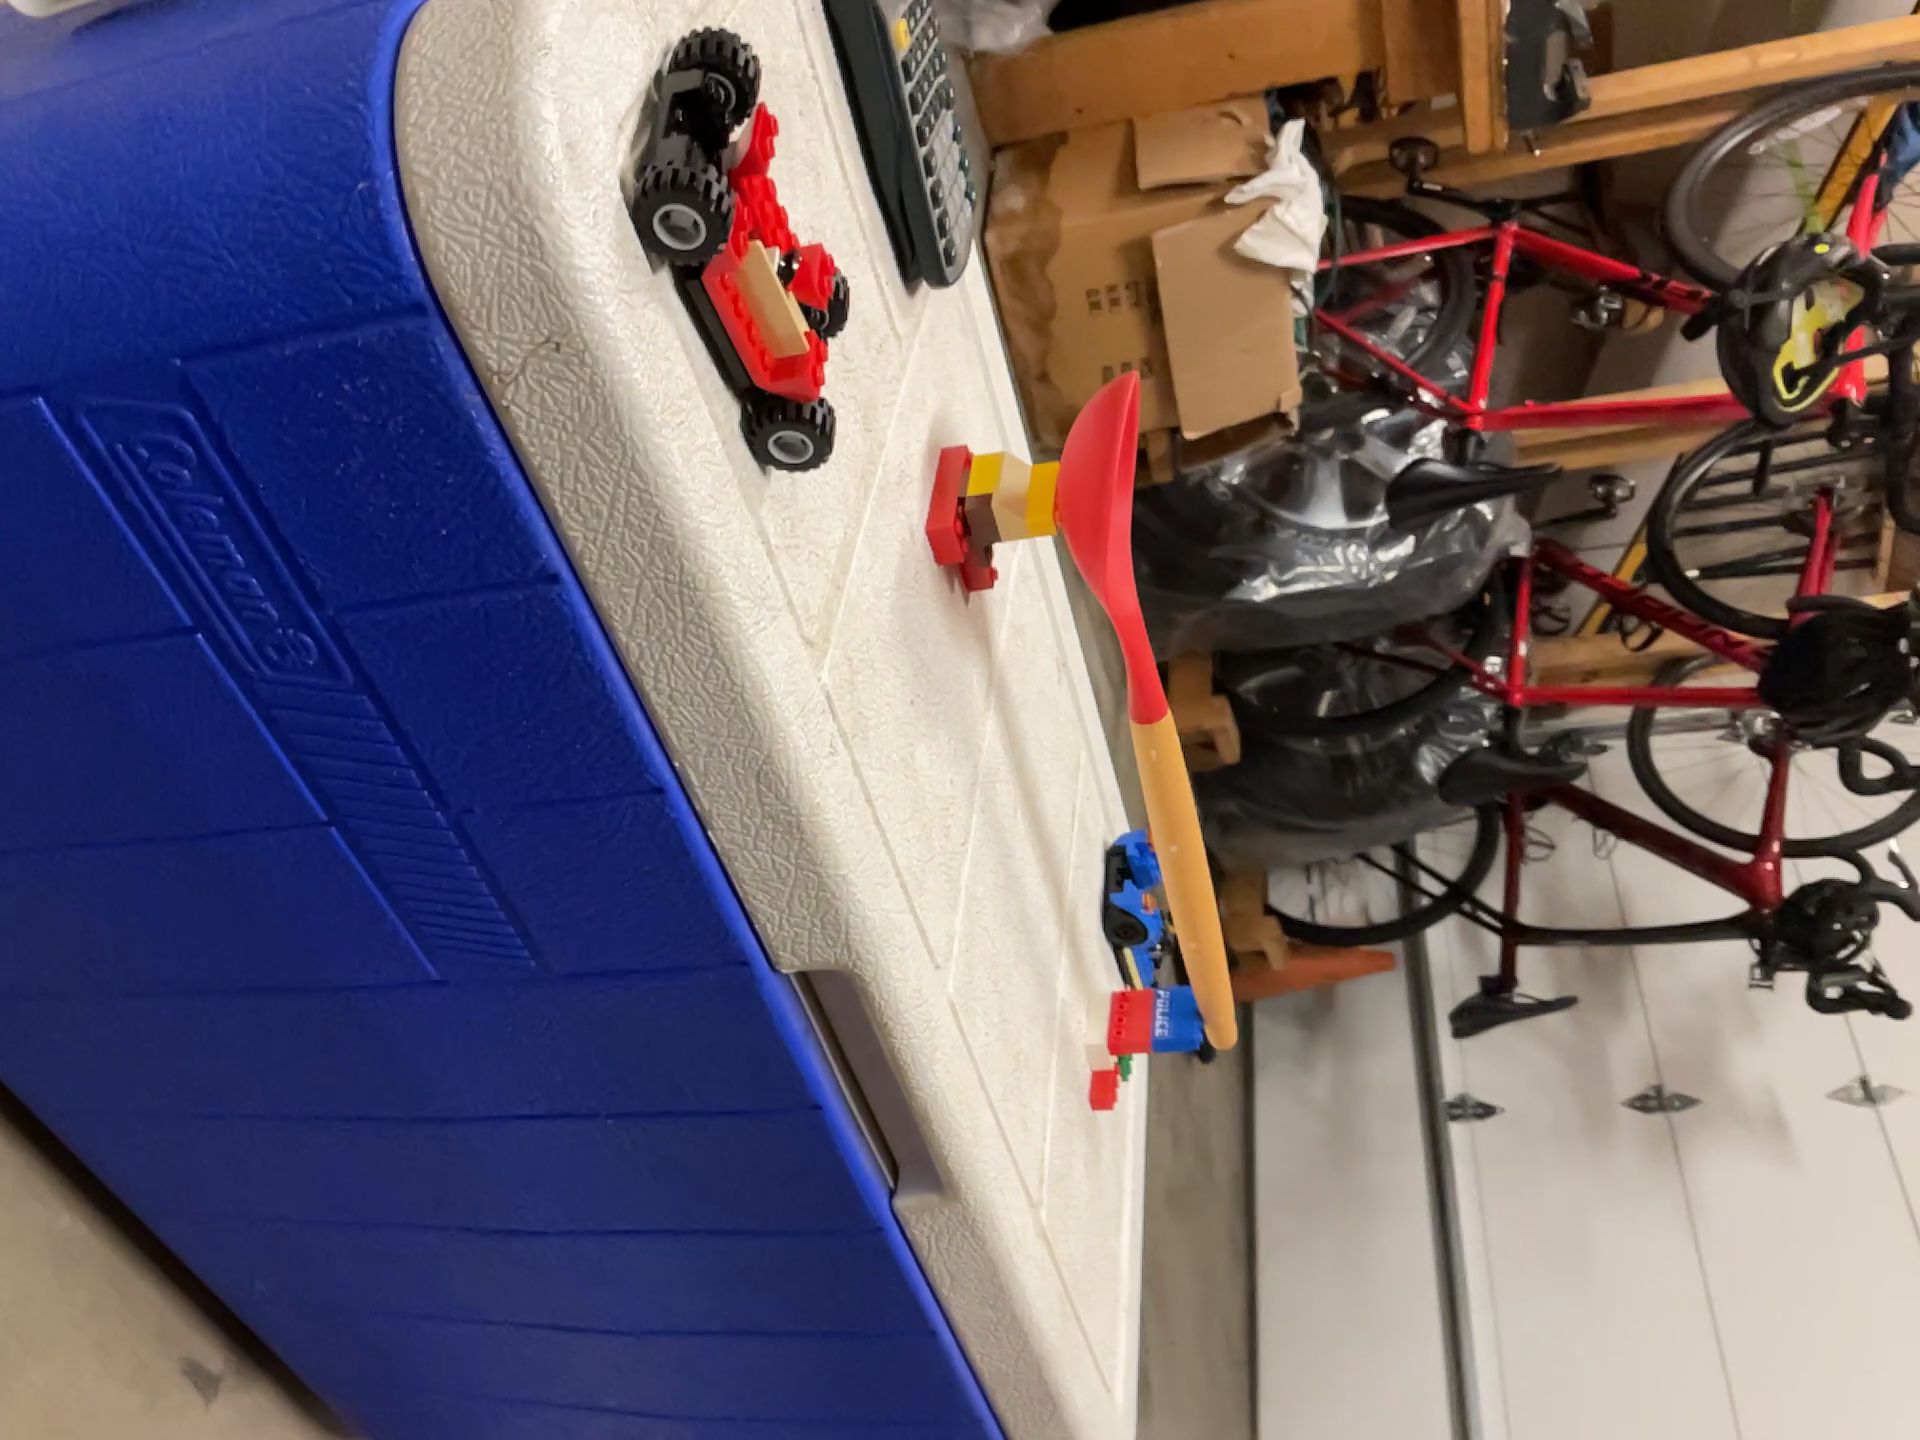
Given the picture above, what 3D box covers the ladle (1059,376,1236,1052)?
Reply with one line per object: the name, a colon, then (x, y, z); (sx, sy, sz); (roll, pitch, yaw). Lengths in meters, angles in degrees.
ladle: (0.078, 0.017, 0.606); (0.069, 0.031, 0.315); (-71, 151, -49)
